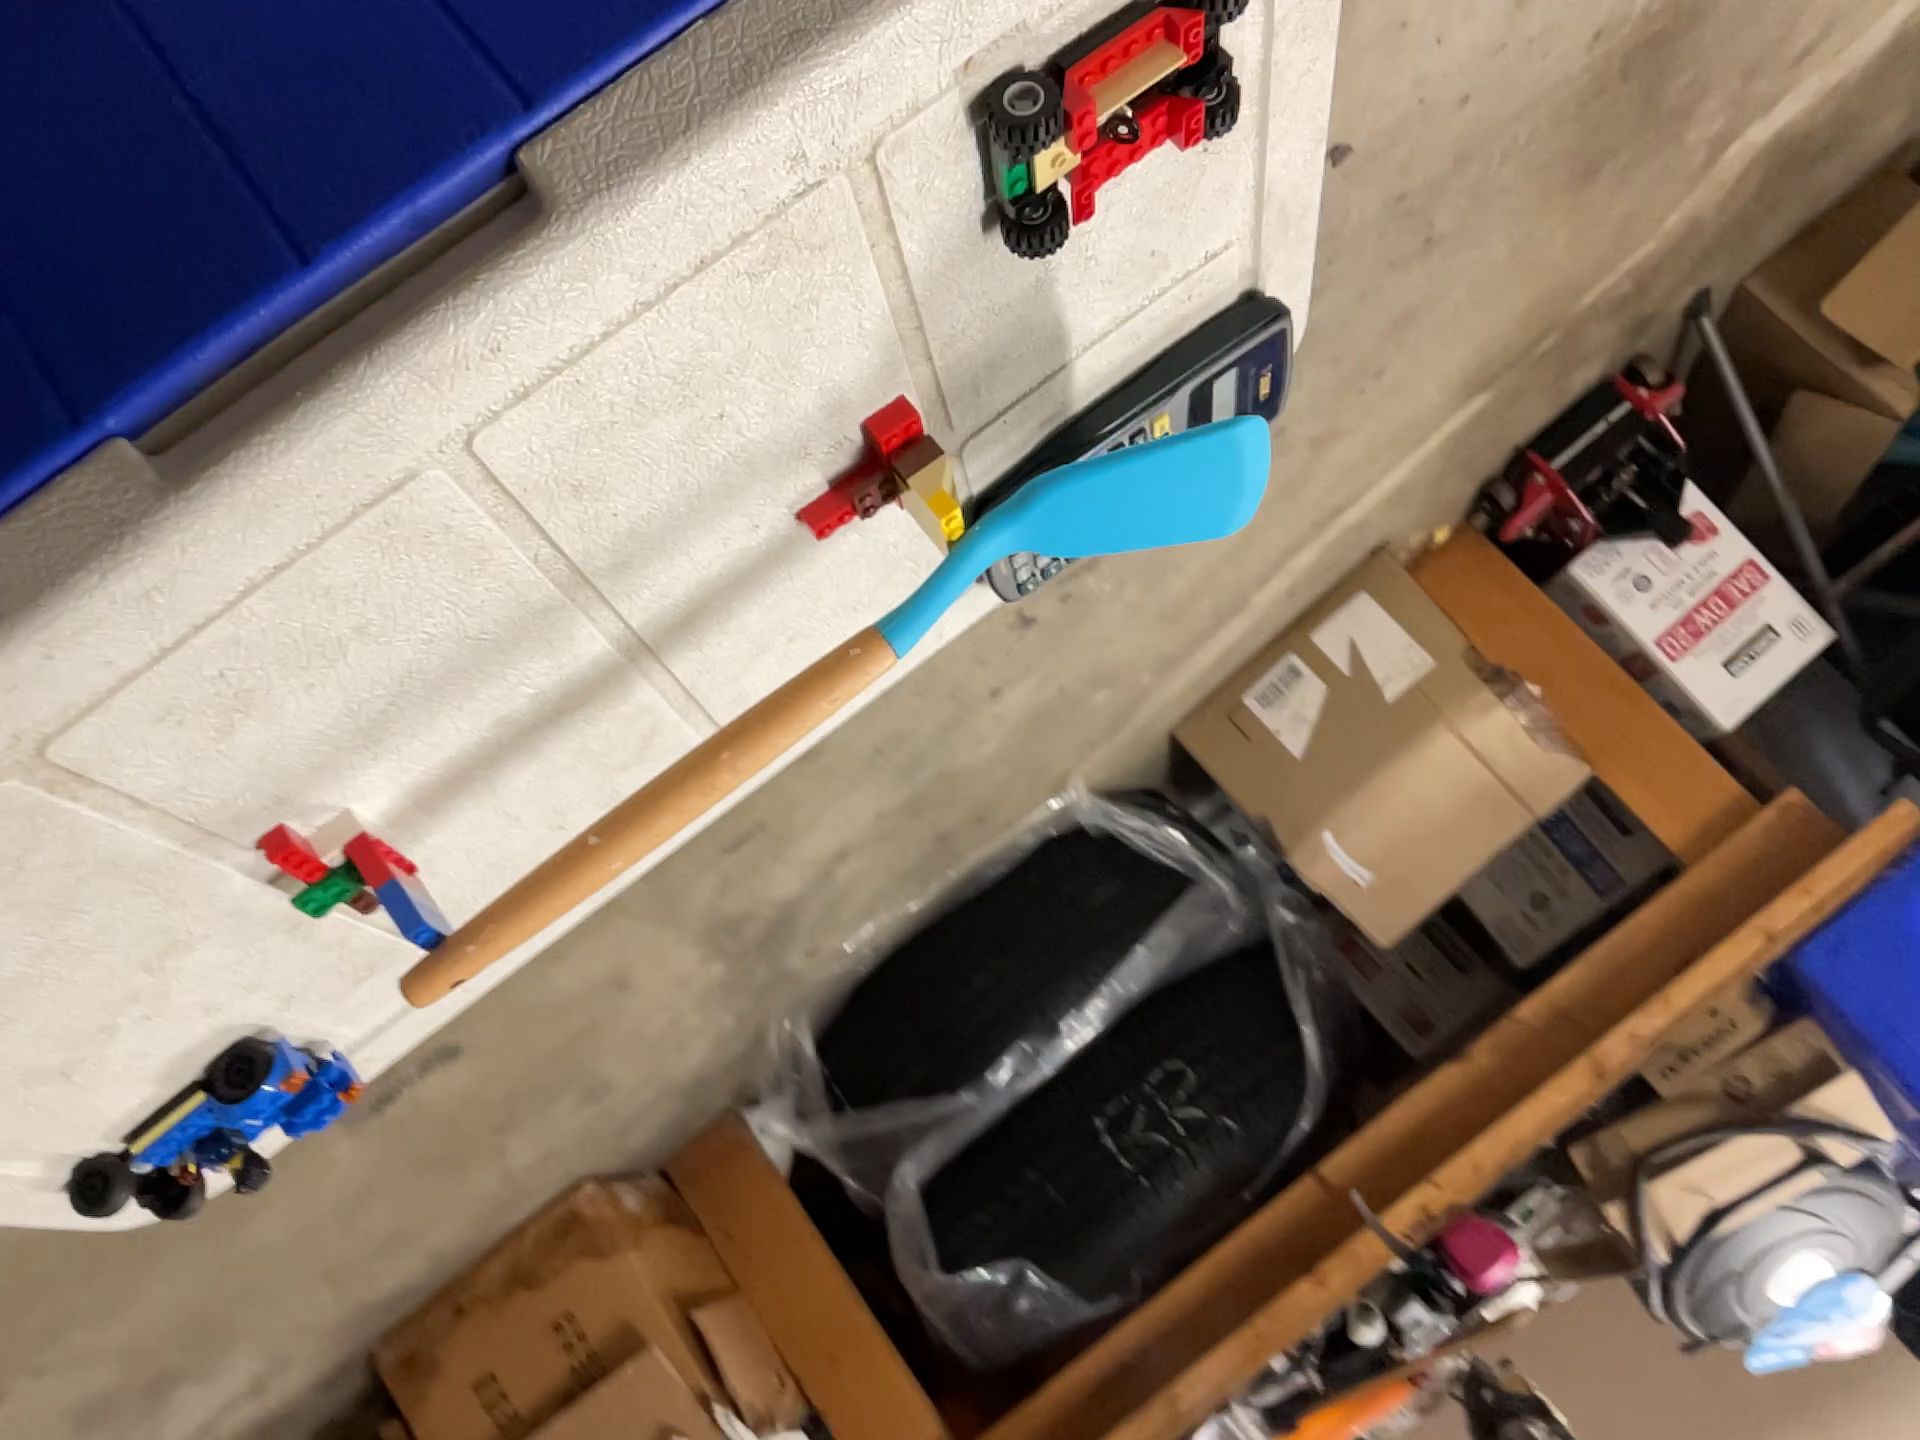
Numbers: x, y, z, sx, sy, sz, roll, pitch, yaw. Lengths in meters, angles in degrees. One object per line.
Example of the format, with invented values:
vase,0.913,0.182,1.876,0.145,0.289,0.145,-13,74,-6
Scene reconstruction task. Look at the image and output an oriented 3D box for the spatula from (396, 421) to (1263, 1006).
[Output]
spatula,-0.040,-0.002,0.512,0.317,0.044,0.082,-37,162,-7
